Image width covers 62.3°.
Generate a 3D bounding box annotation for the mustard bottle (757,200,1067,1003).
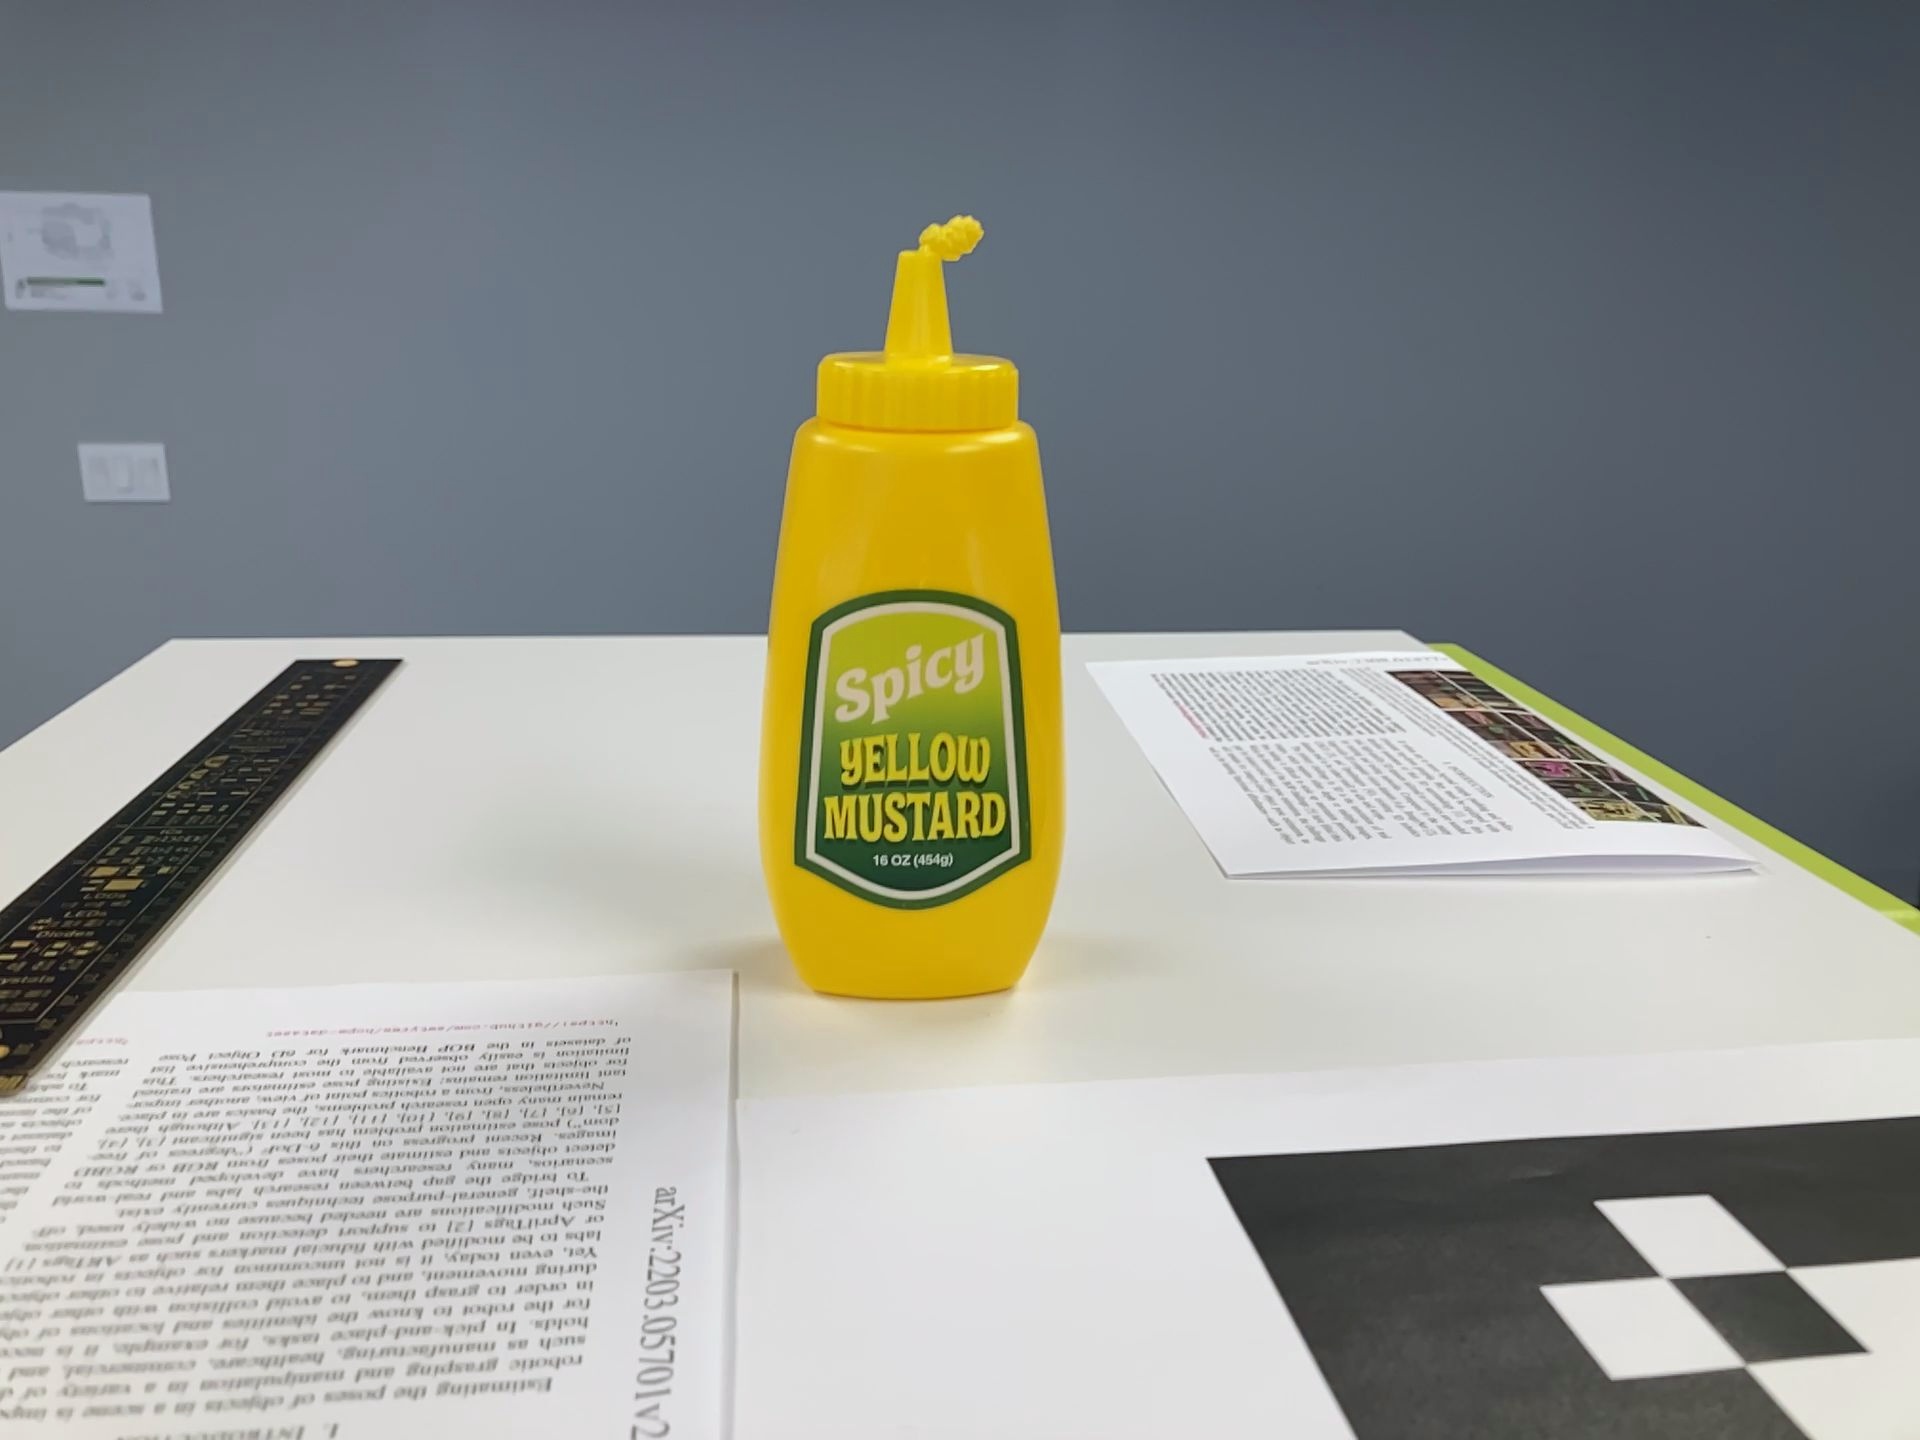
[{"bbox_3d":[-0.010,-0.022,0.324,0.065,0.160,0.049,-1,17,-3],"label":"mustard bottle"}]
